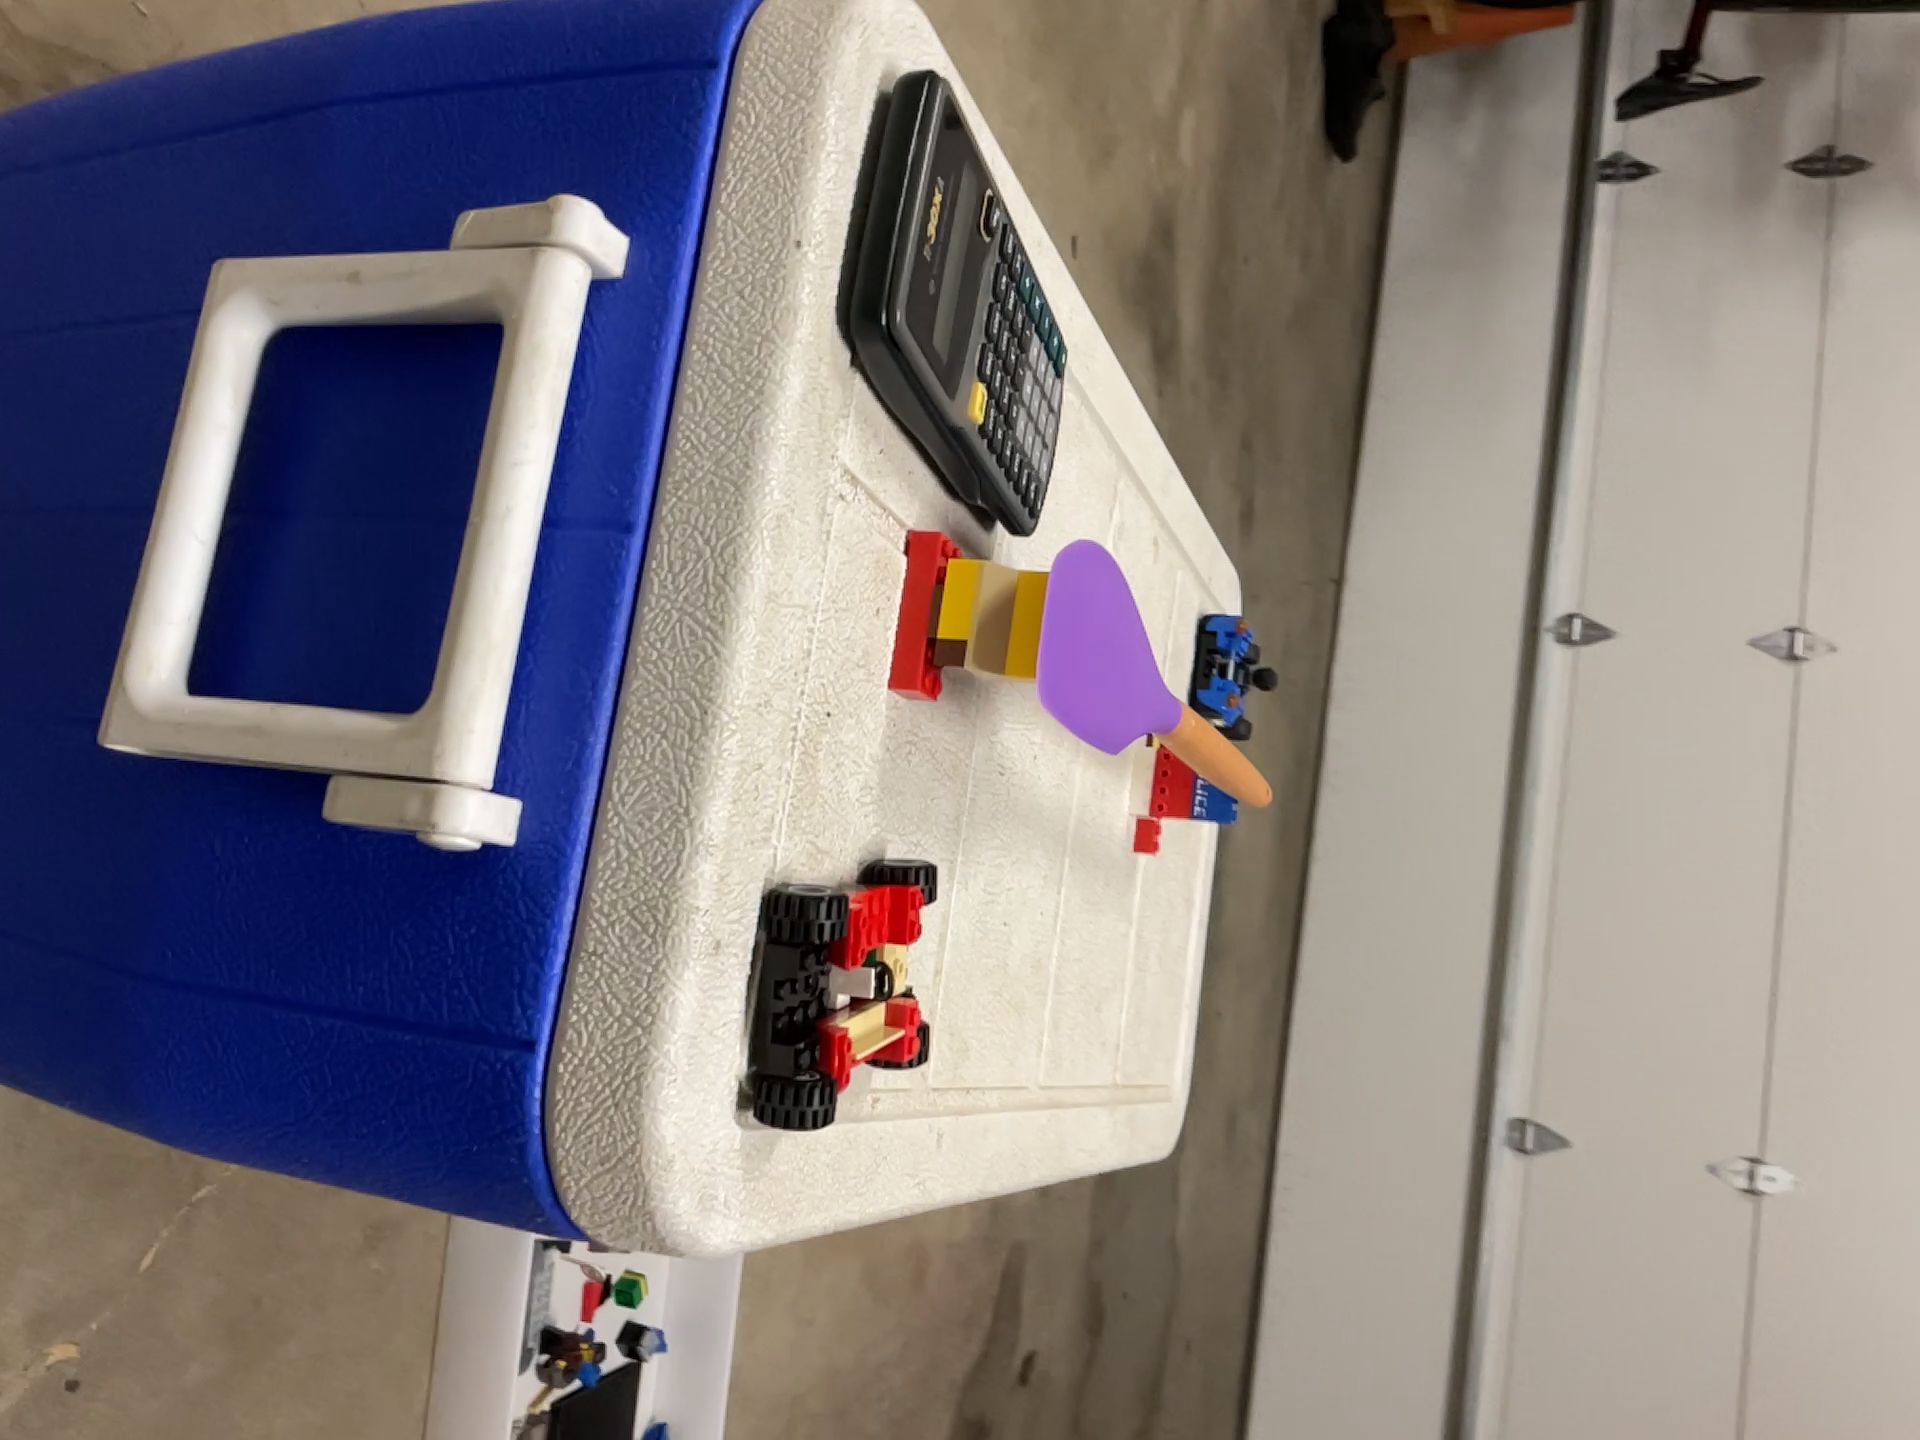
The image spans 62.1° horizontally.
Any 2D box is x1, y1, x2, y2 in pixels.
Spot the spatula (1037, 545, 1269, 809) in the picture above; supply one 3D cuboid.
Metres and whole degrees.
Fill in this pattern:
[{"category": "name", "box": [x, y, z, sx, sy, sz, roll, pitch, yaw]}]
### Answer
[{"category": "spatula", "box": [0.080, 0.001, 0.586, 0.316, 0.018, 0.060, 31, 66, -66]}]
